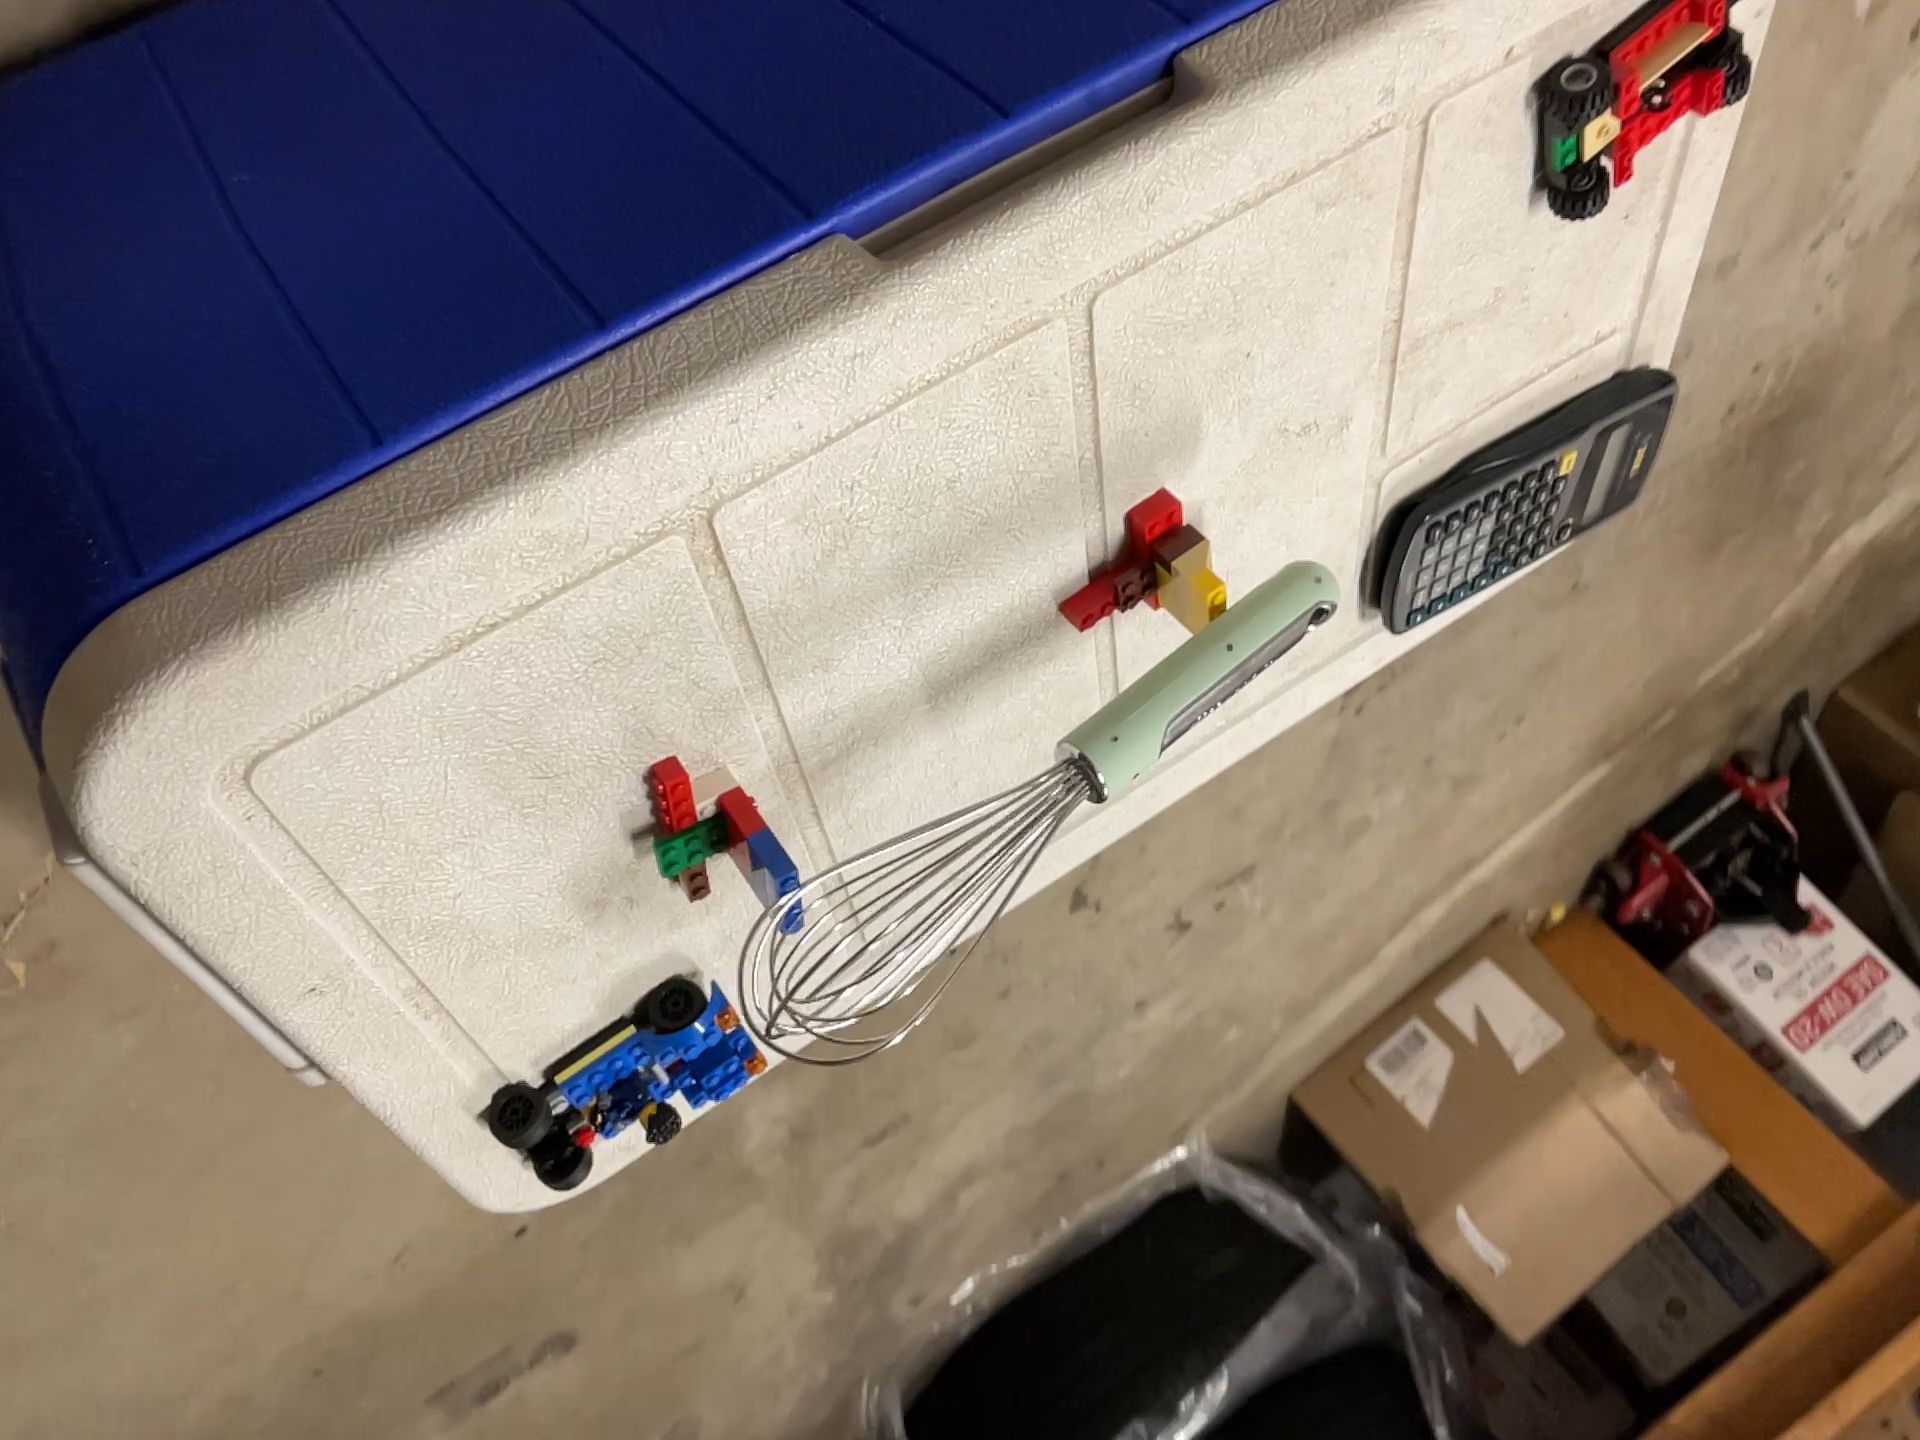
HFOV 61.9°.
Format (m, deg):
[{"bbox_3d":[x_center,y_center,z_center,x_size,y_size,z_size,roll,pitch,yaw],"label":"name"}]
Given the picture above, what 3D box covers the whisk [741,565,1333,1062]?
[{"bbox_3d":[0.033,0.022,0.517,0.246,0.059,0.057,-37,155,-19],"label":"whisk"}]
